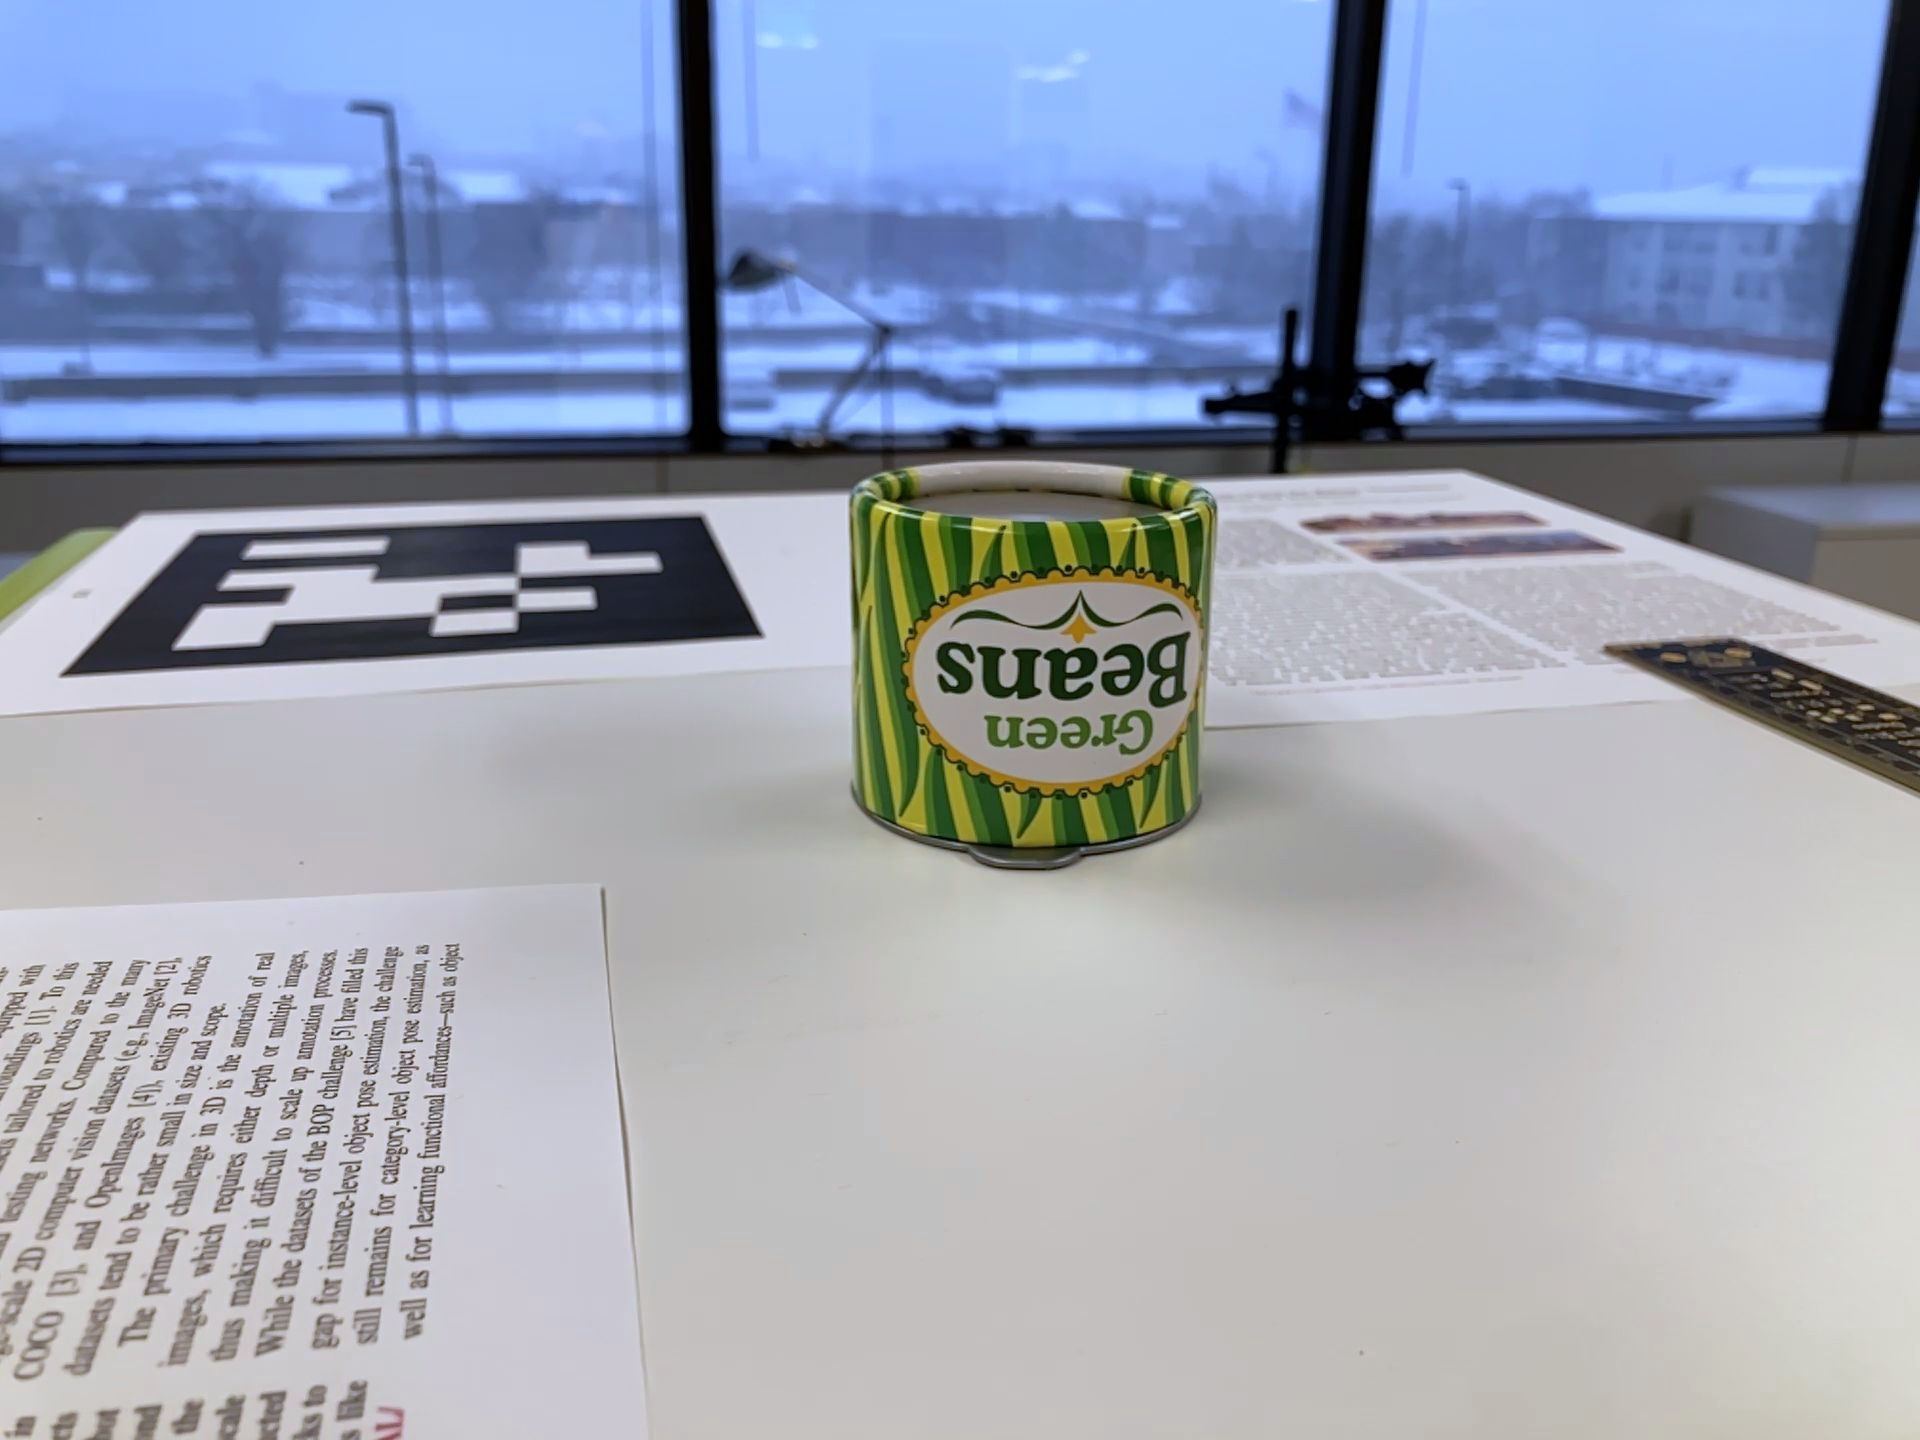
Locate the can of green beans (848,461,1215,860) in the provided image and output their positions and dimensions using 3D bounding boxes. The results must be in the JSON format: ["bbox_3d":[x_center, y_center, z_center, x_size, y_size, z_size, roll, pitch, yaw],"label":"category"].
[{"bbox_3d":[0.012,-0.015,0.296,0.071,0.058,0.071,1,17,0],"label":"can of green beans"}]
